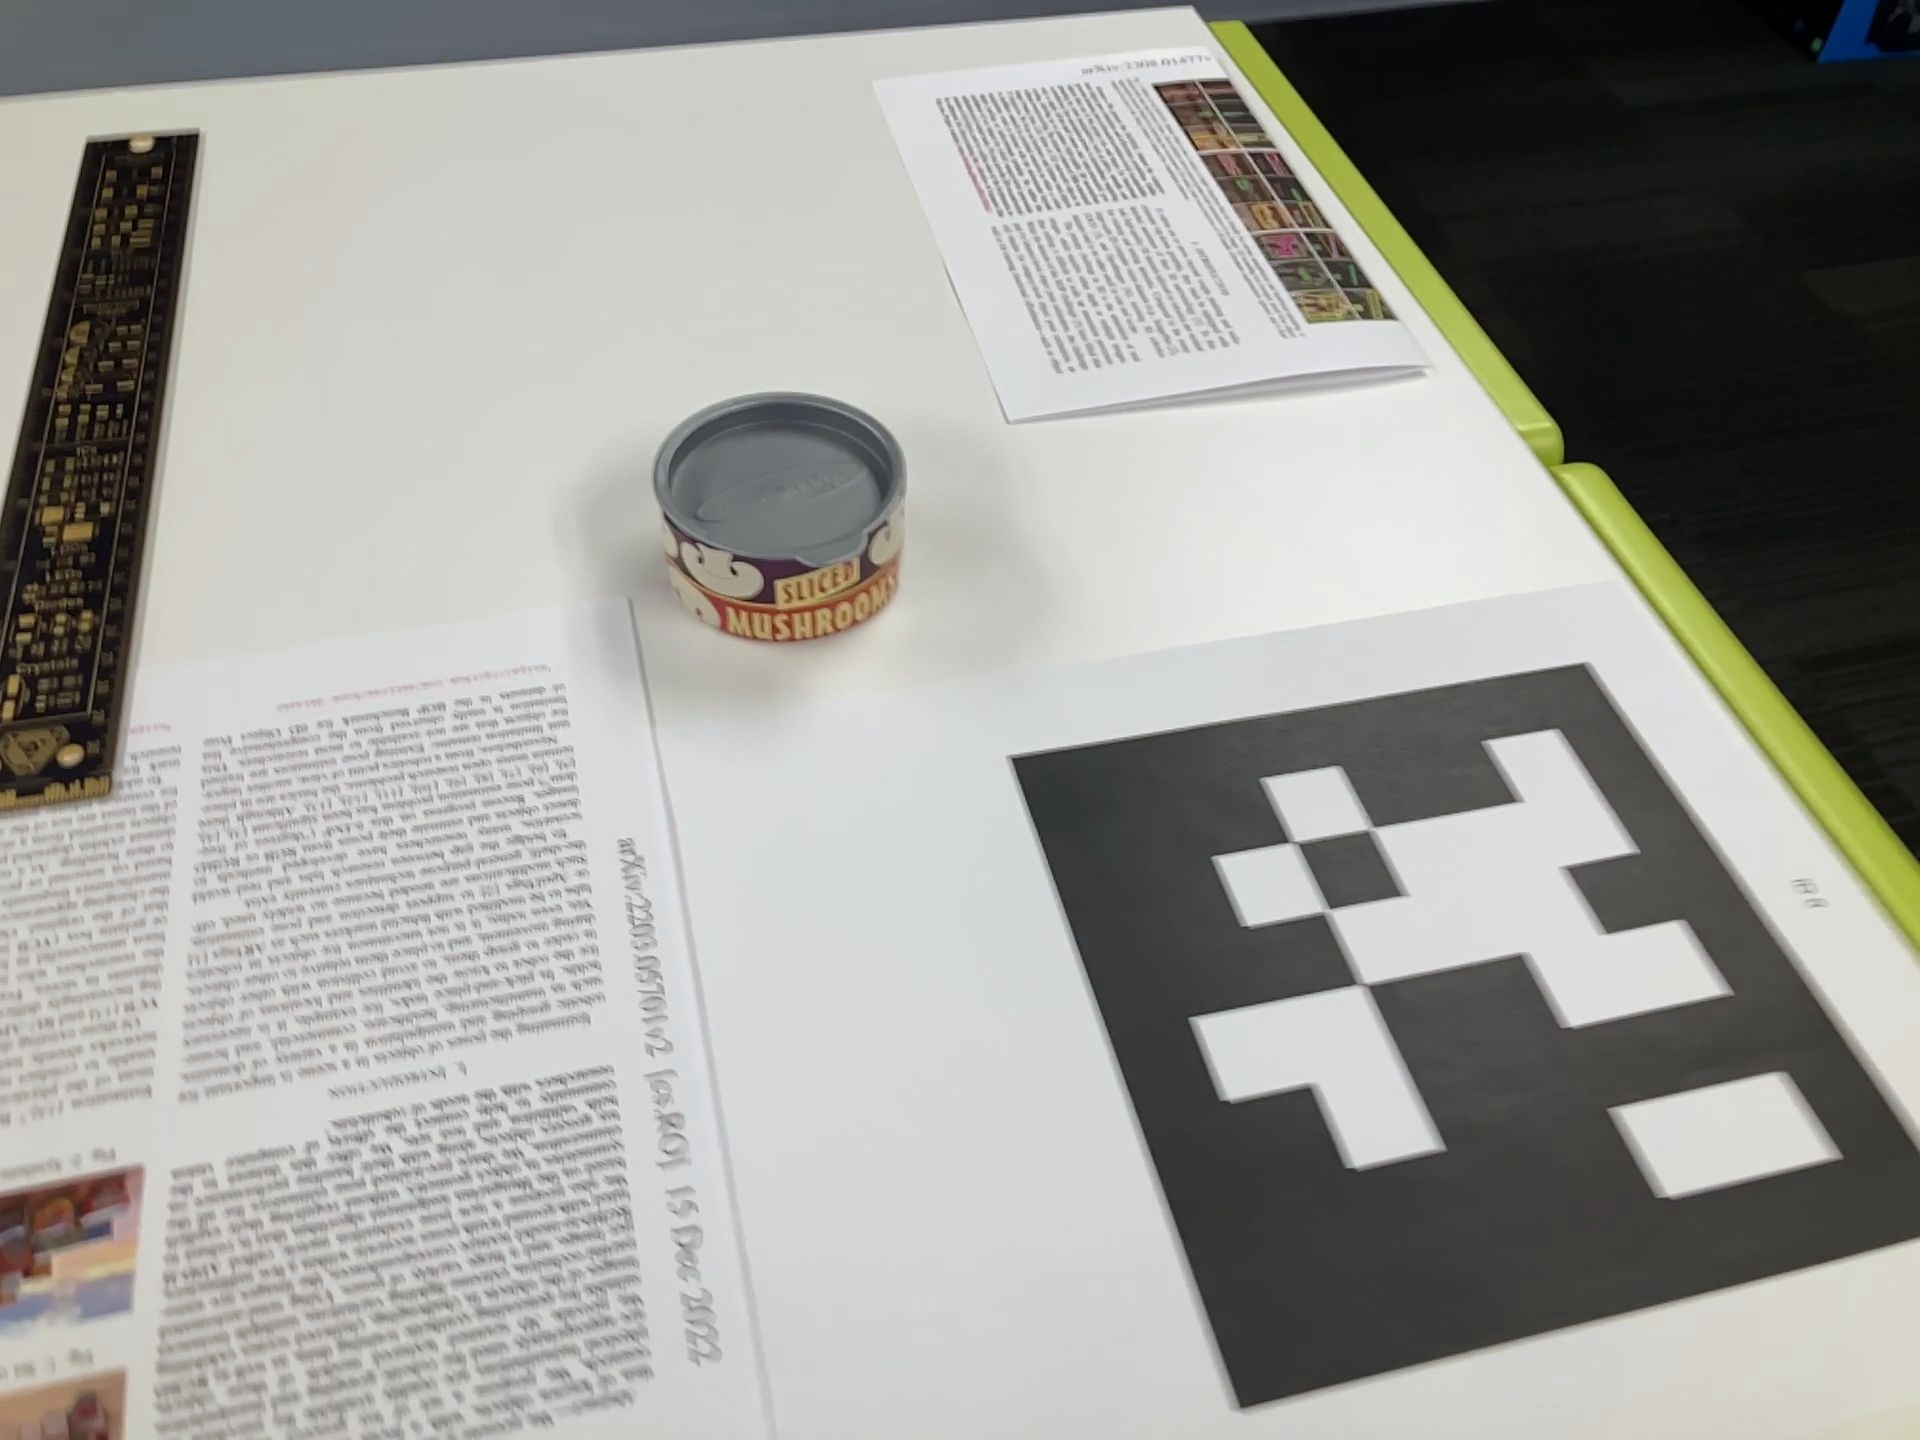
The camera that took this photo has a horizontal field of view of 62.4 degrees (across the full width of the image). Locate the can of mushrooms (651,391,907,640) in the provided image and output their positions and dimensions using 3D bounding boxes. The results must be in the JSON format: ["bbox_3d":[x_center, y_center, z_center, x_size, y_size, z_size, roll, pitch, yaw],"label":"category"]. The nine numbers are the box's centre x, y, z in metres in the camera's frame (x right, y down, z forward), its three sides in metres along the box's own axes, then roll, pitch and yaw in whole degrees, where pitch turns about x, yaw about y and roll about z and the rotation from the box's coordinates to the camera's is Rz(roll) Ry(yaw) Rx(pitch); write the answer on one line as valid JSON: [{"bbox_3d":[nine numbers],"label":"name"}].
[{"bbox_3d":[-0.047,-0.054,0.422,0.071,0.033,0.071,2,48,-2],"label":"can of mushrooms"}]
